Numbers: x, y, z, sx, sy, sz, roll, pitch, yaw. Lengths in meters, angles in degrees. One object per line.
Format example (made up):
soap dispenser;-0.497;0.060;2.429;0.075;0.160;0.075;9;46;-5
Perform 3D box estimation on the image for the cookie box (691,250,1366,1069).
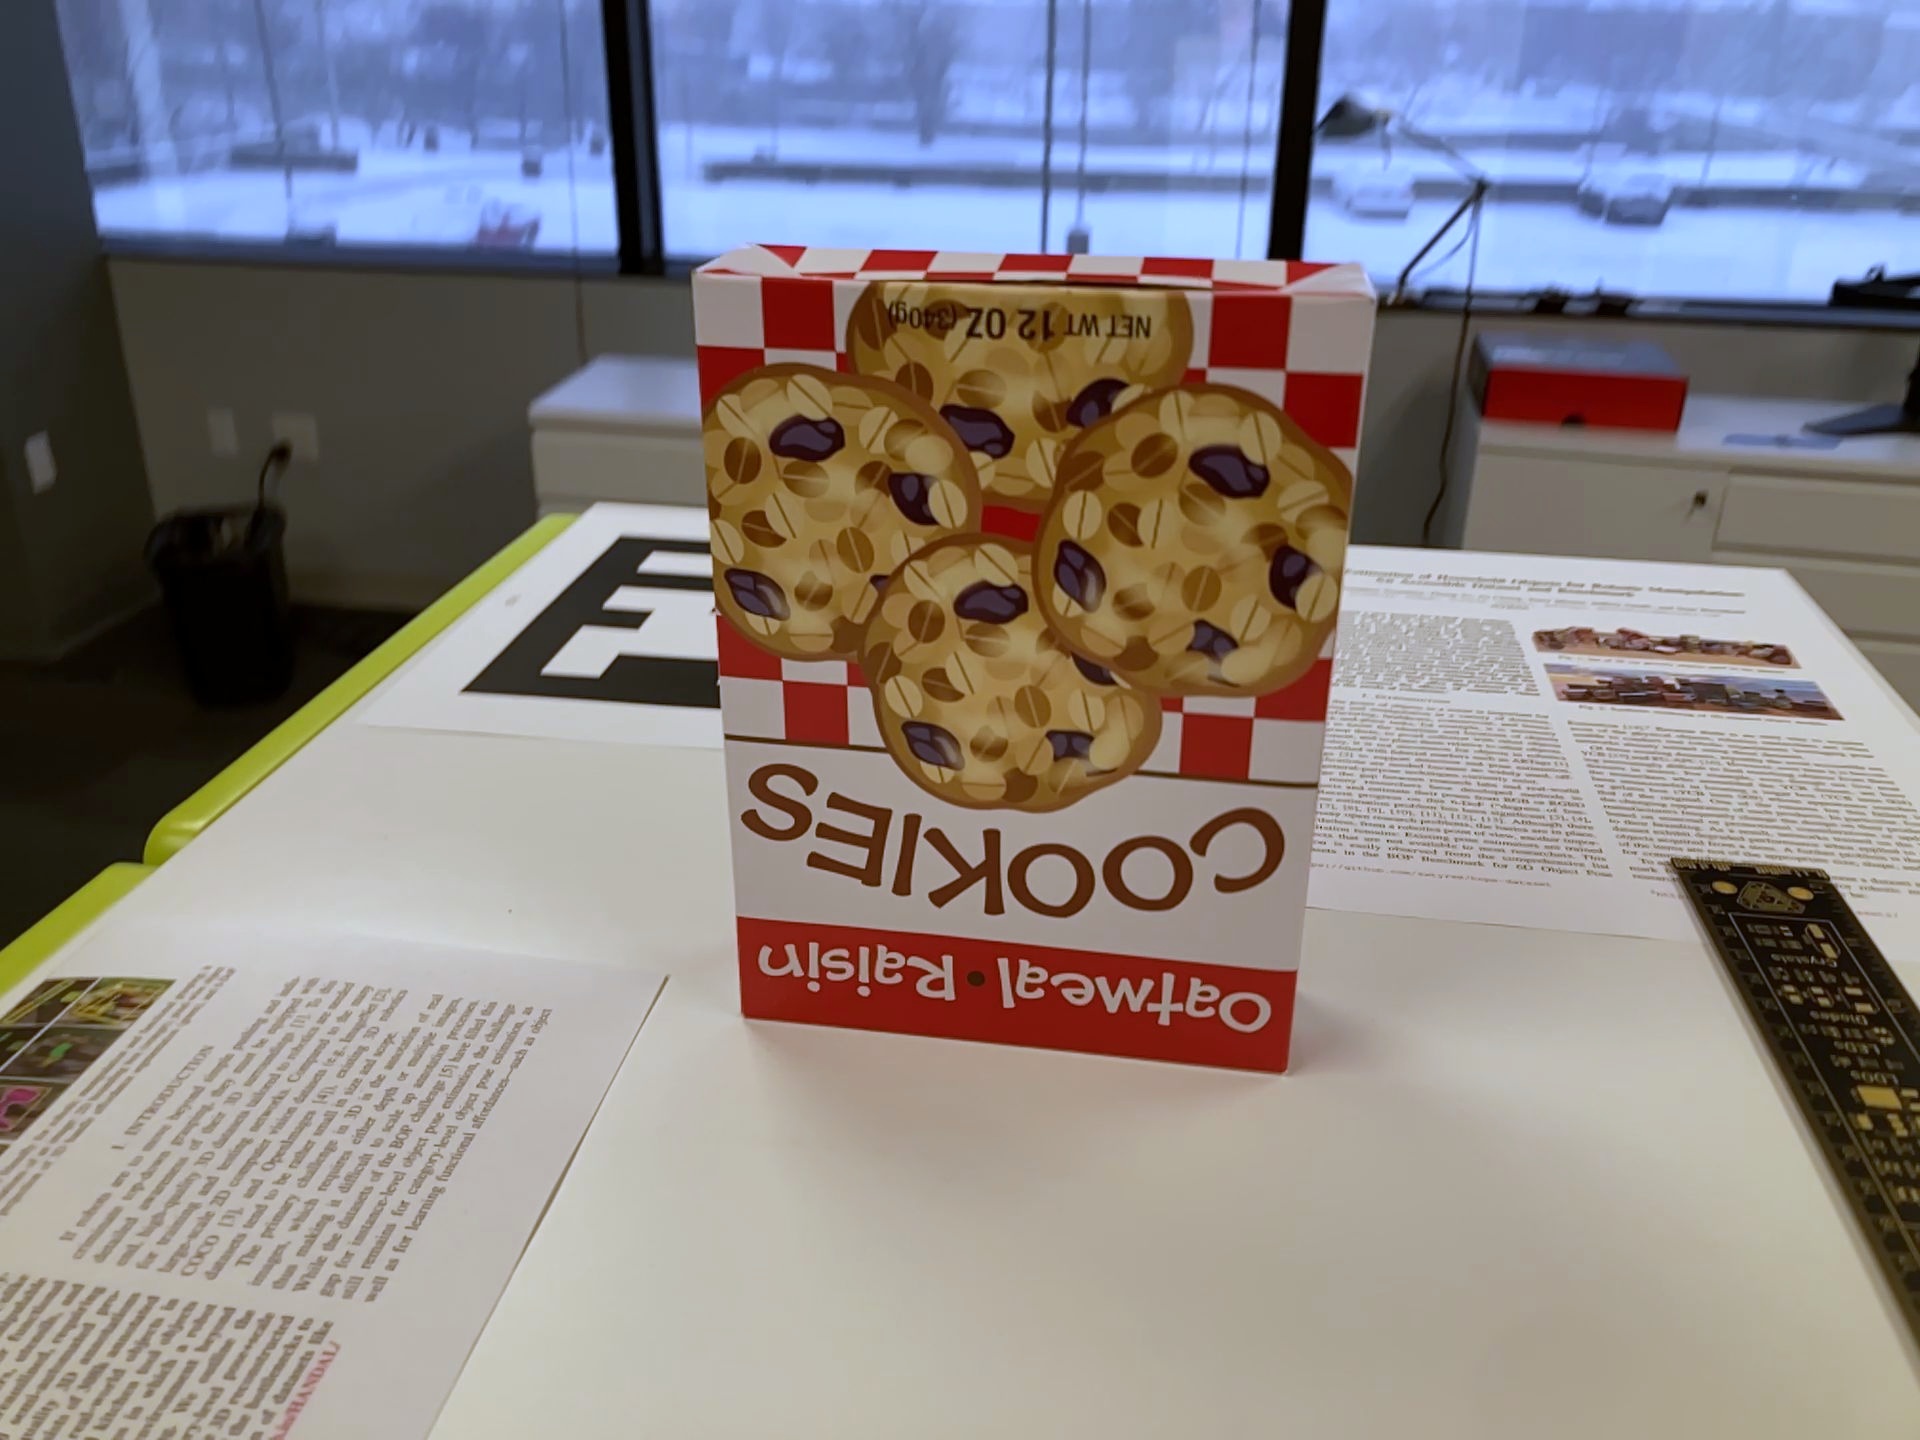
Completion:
cookie box;0.013;-0.010;0.334;0.123;0.167;0.040;4;26;9
